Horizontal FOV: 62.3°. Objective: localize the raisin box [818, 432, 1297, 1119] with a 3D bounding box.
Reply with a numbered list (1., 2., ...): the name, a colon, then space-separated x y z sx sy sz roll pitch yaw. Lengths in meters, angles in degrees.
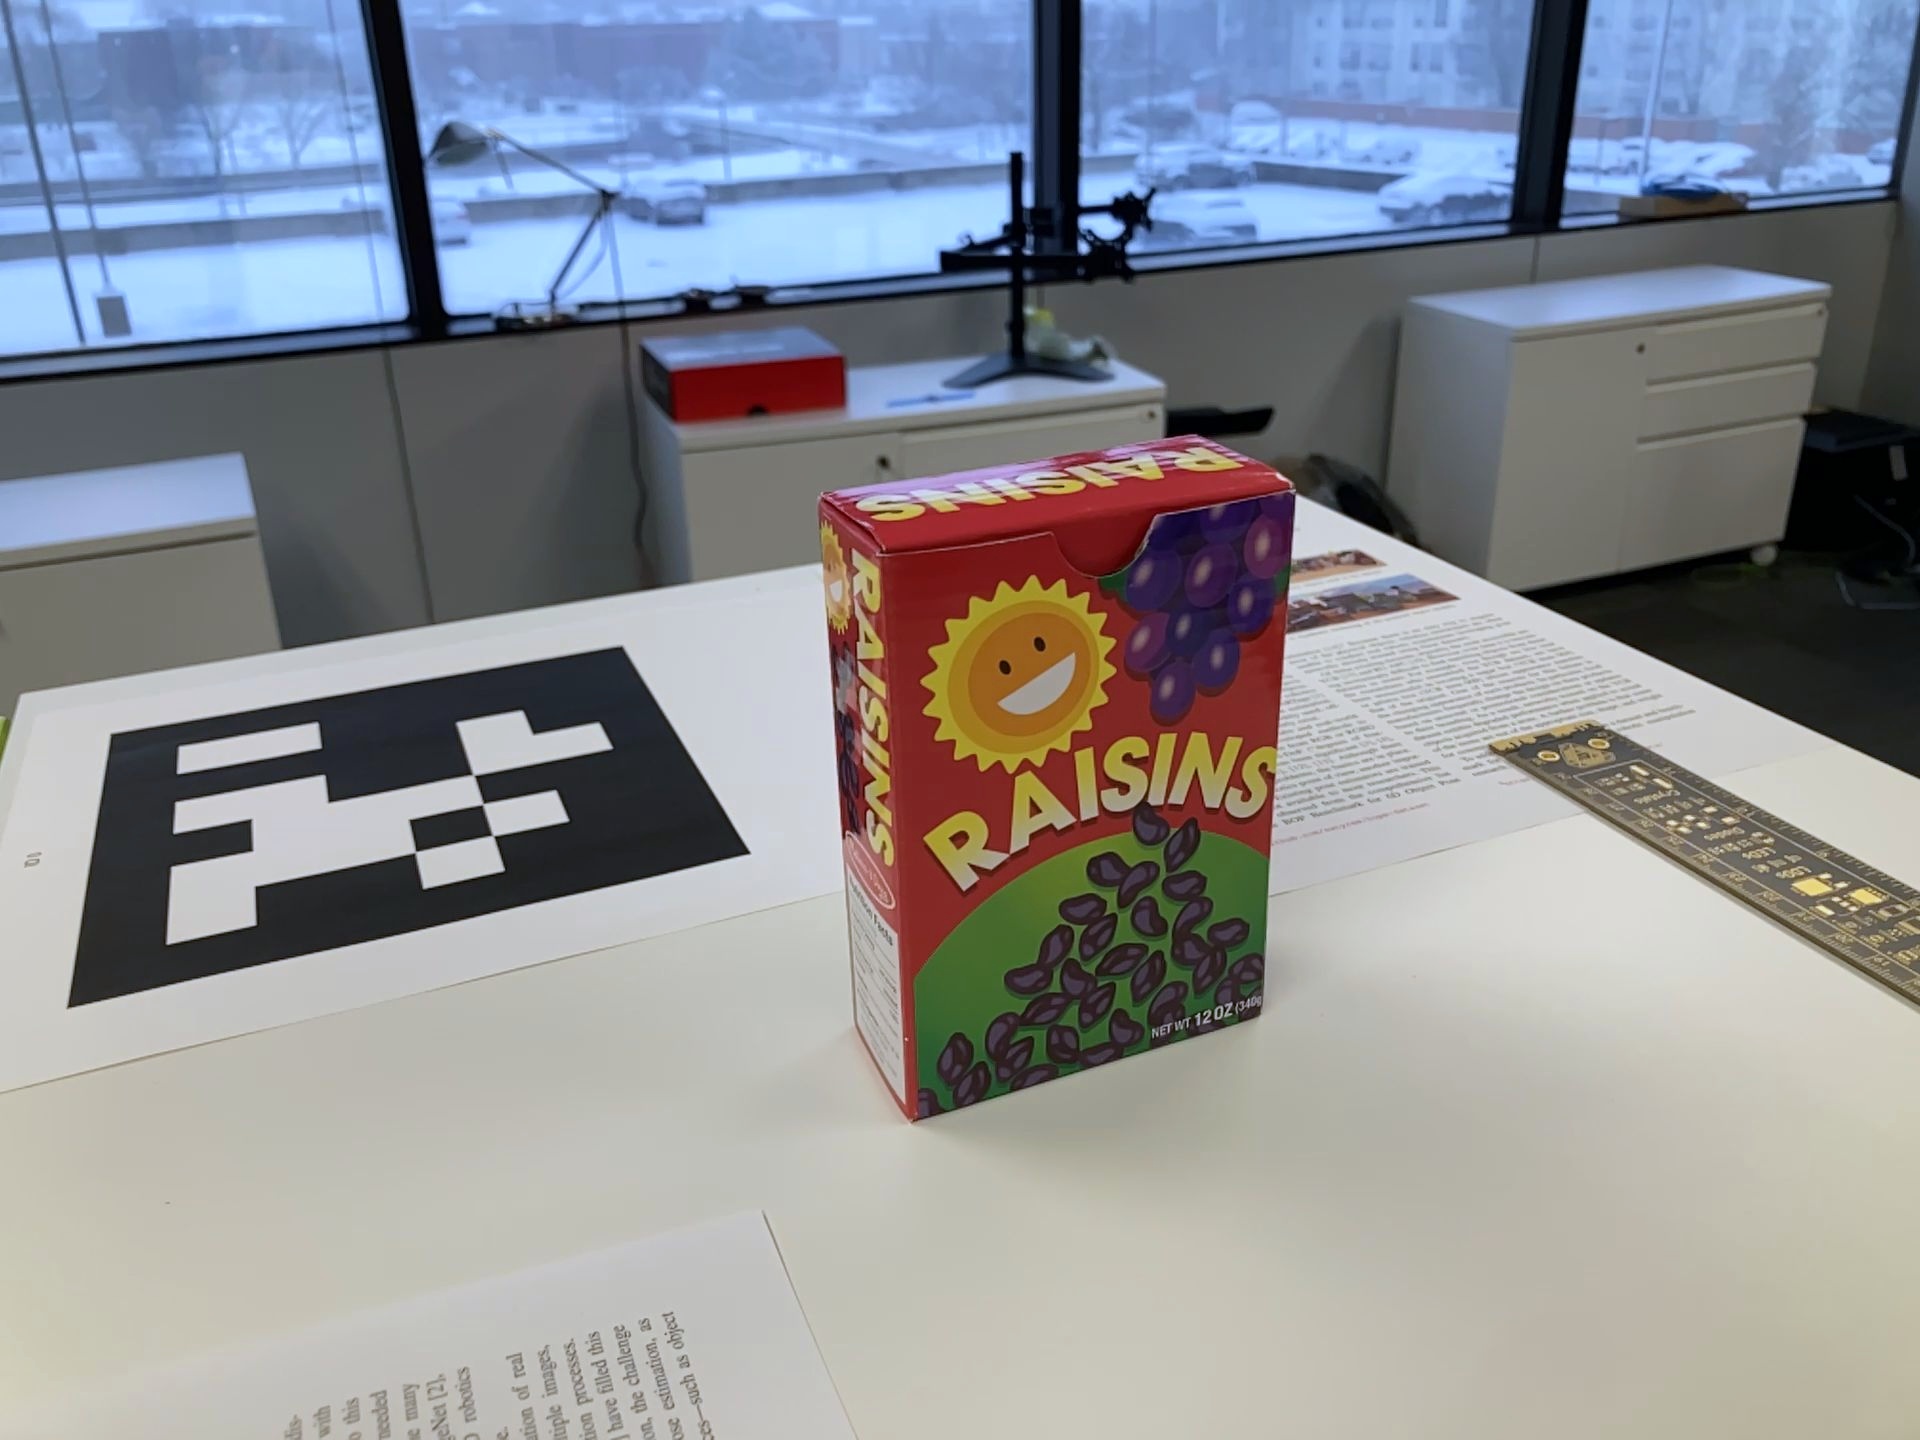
1. raisin box: 0.019 0.010 0.322 0.086 0.123 0.040 -11 26 -20
